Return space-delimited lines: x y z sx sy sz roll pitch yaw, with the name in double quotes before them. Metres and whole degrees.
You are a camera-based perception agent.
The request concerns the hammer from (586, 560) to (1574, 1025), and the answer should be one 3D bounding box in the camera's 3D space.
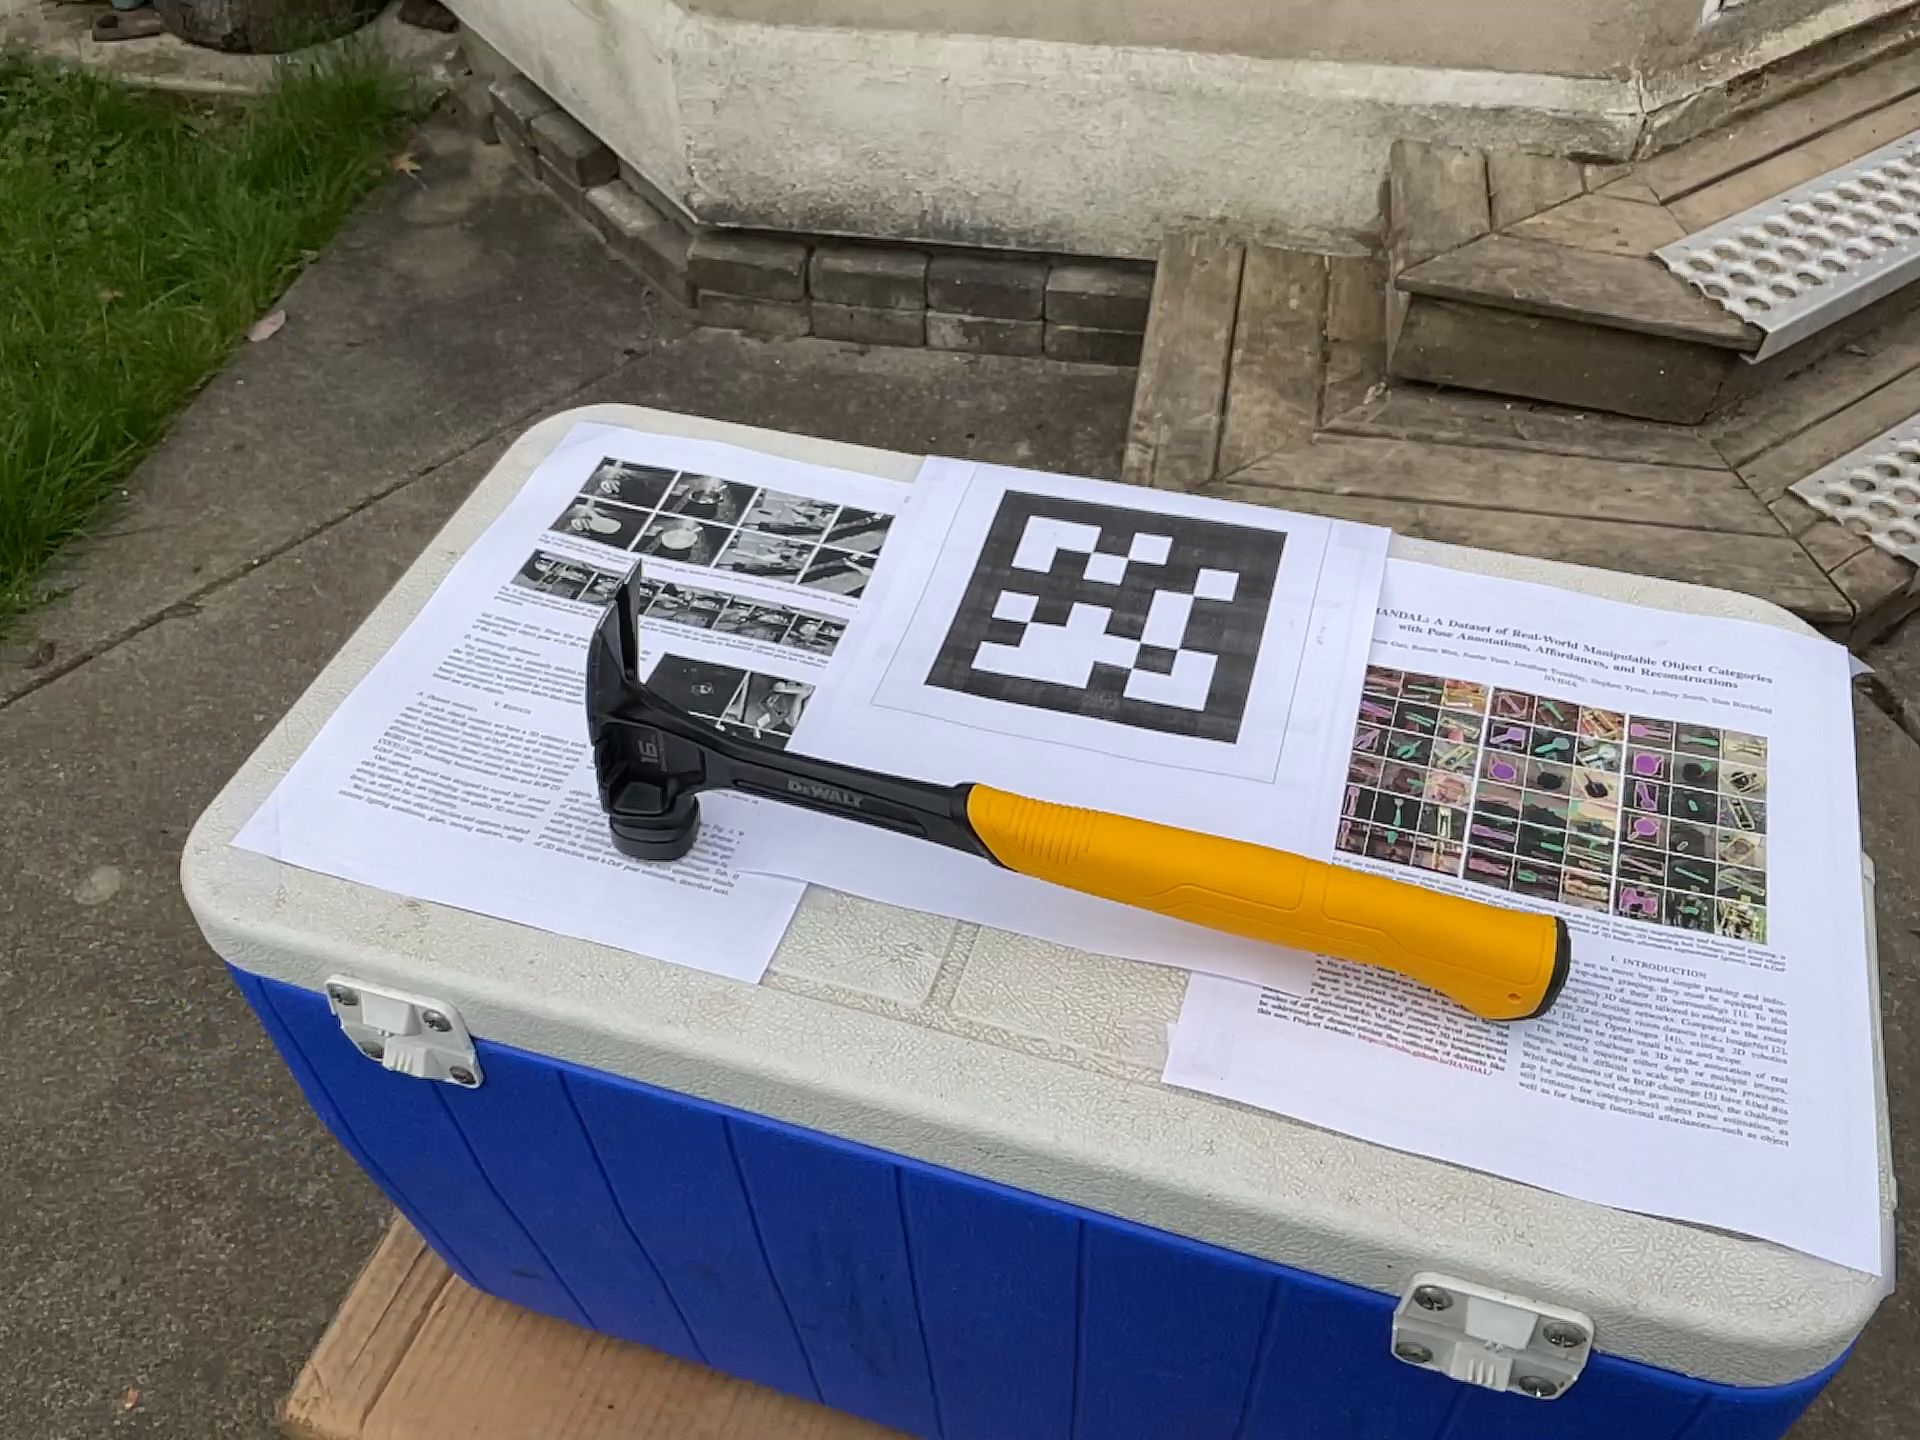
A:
"hammer" 0.036 0.038 0.539 0.337 0.127 0.034 14 48 7
